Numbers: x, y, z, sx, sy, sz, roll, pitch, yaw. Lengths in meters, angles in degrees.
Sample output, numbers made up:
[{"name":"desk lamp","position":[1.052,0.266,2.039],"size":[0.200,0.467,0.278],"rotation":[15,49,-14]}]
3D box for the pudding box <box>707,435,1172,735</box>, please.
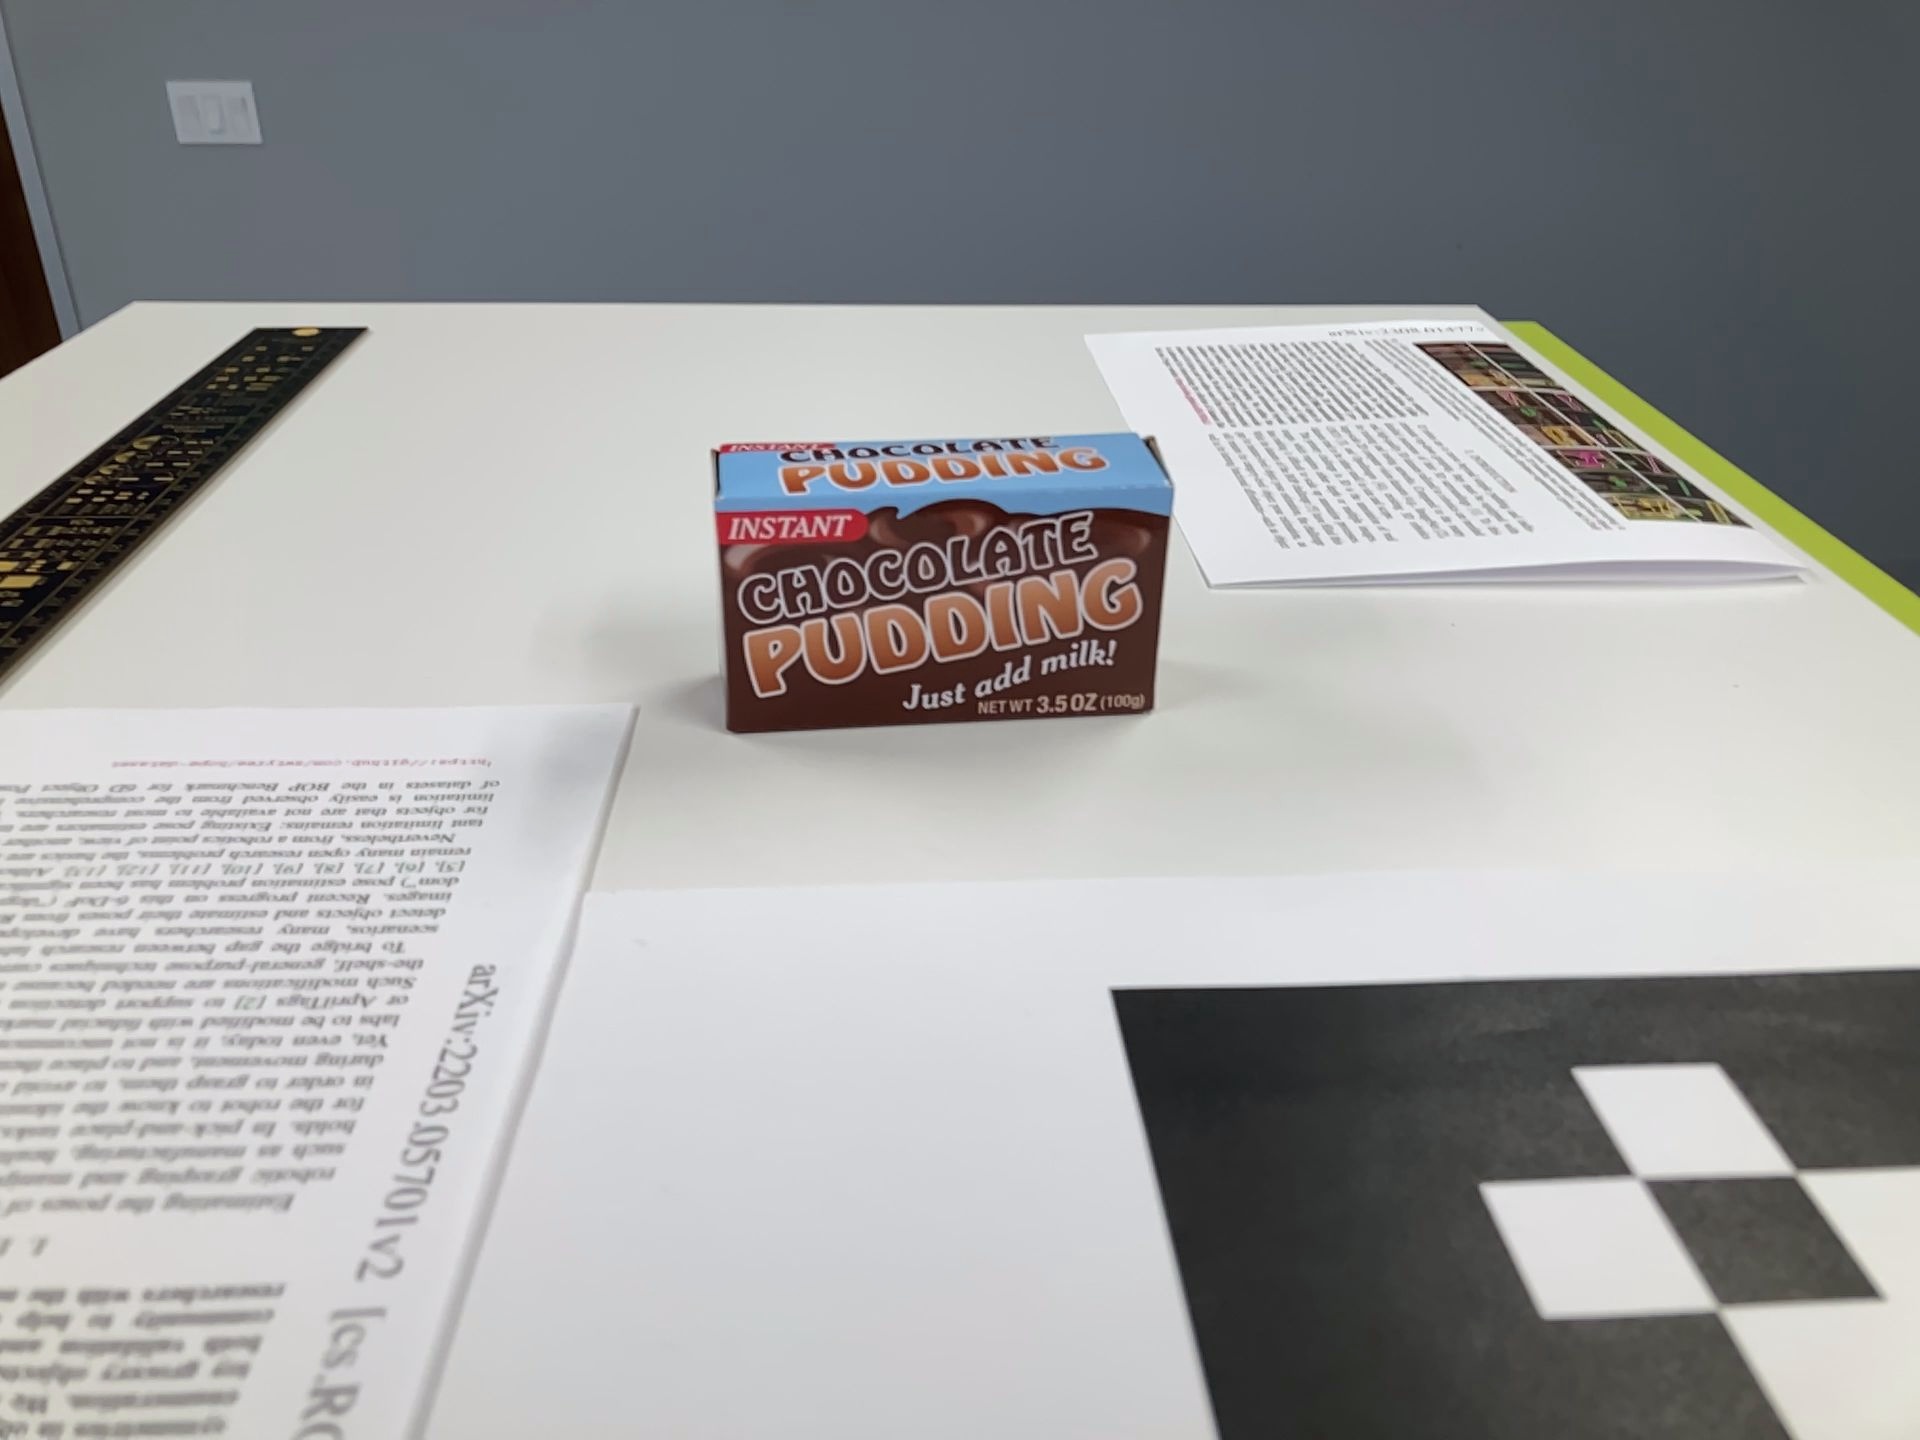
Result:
[{"name":"pudding box","position":[-0.004,-0.026,0.300],"size":[0.083,0.049,0.030],"rotation":[-2,30,-7]}]
